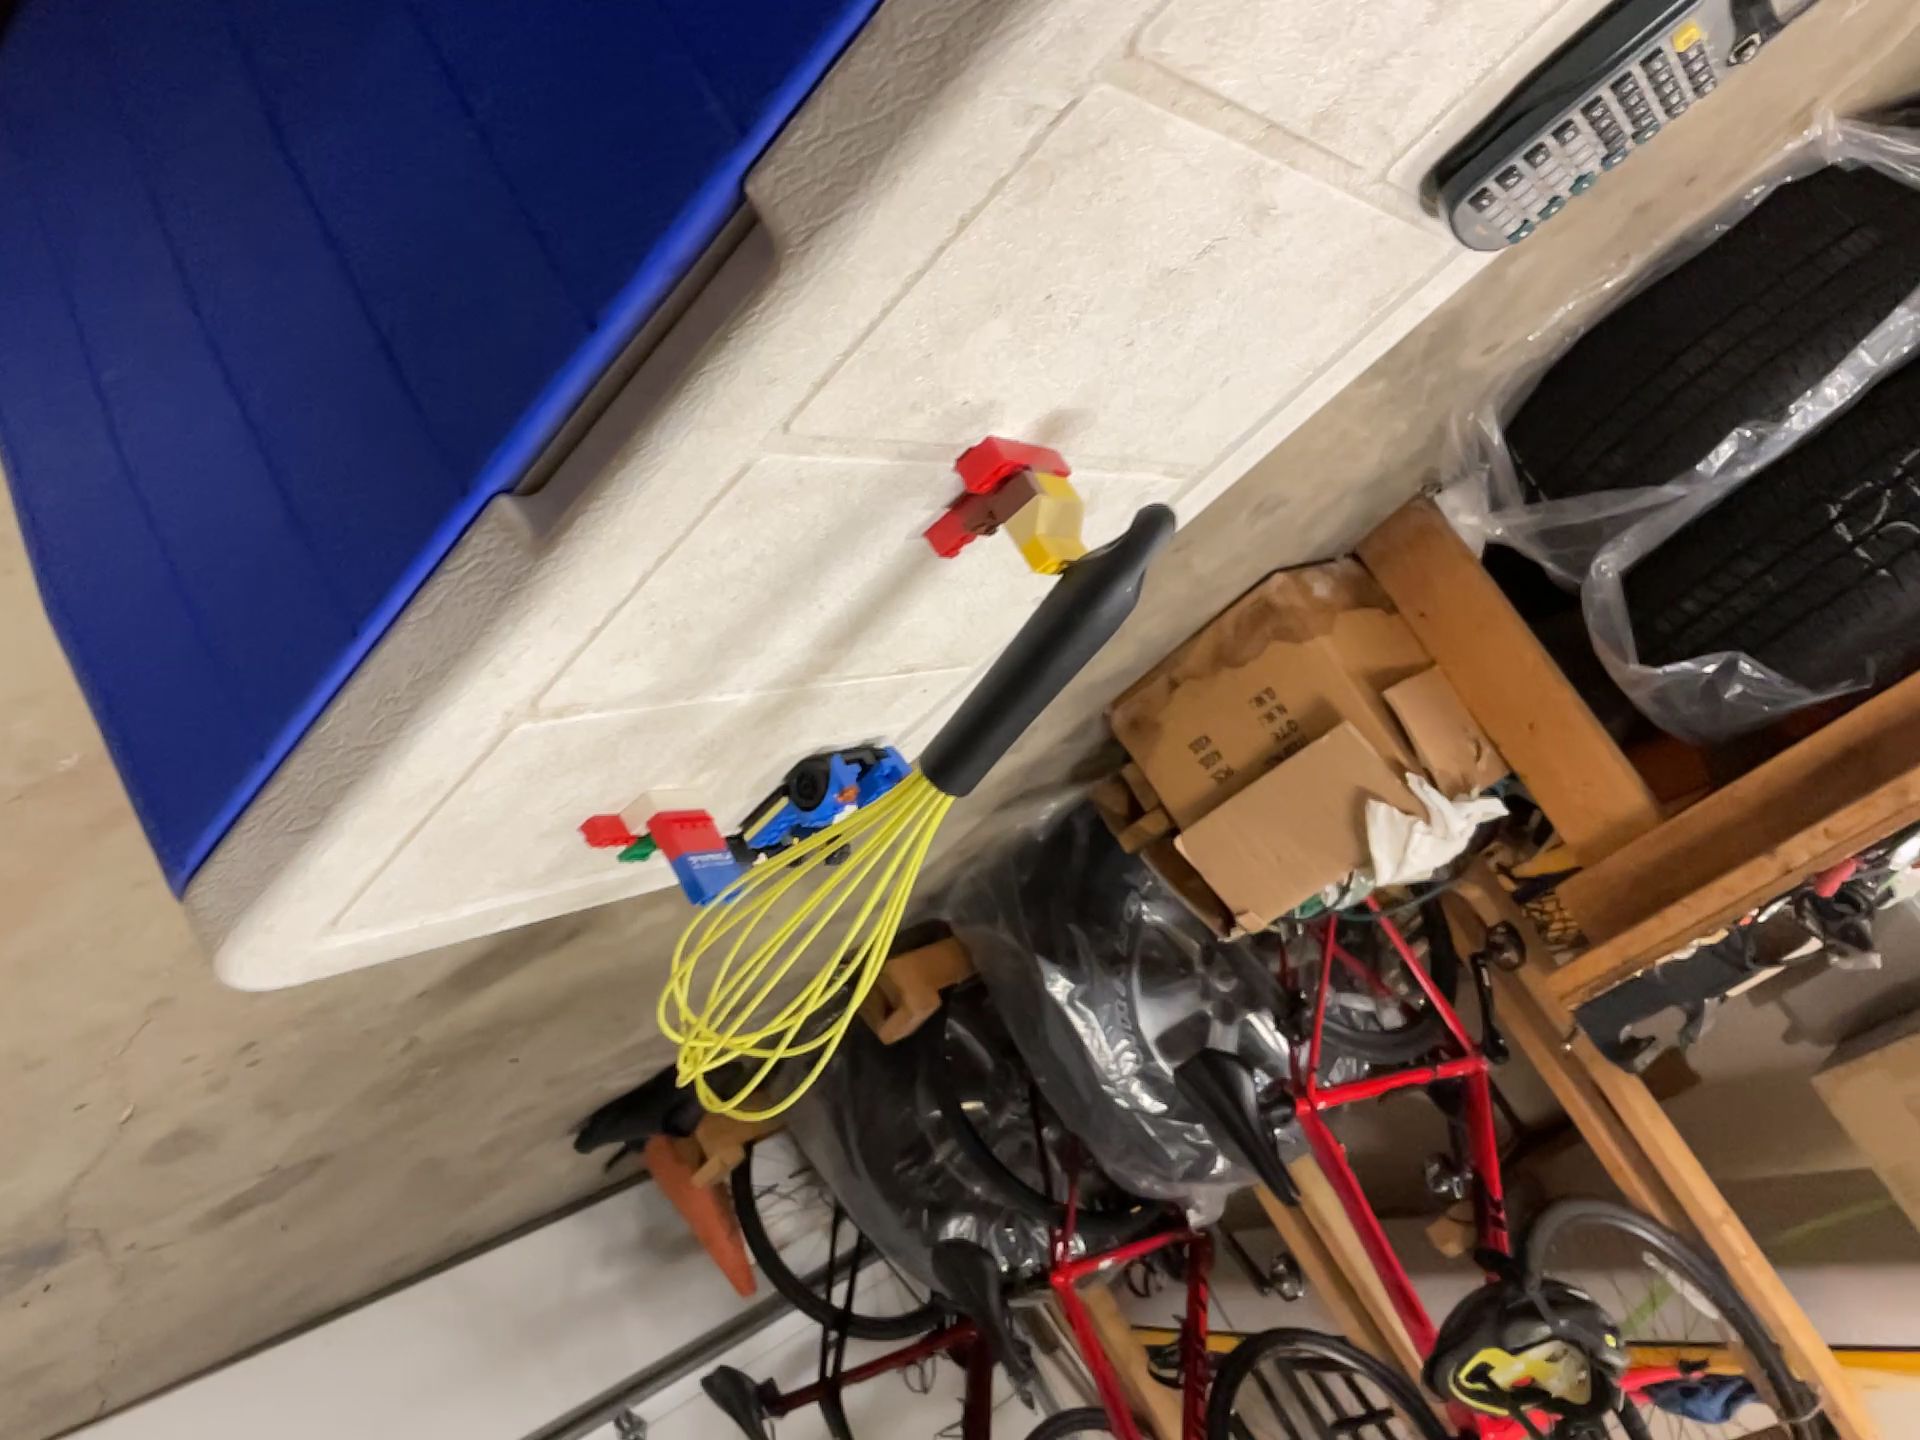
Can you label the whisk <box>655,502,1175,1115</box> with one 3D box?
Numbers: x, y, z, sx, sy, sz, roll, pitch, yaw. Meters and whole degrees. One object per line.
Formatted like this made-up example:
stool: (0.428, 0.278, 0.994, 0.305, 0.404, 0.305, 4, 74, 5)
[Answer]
whisk: (-0.024, 0.038, 0.567, 0.311, 0.067, 0.080, -50, -156, 30)
